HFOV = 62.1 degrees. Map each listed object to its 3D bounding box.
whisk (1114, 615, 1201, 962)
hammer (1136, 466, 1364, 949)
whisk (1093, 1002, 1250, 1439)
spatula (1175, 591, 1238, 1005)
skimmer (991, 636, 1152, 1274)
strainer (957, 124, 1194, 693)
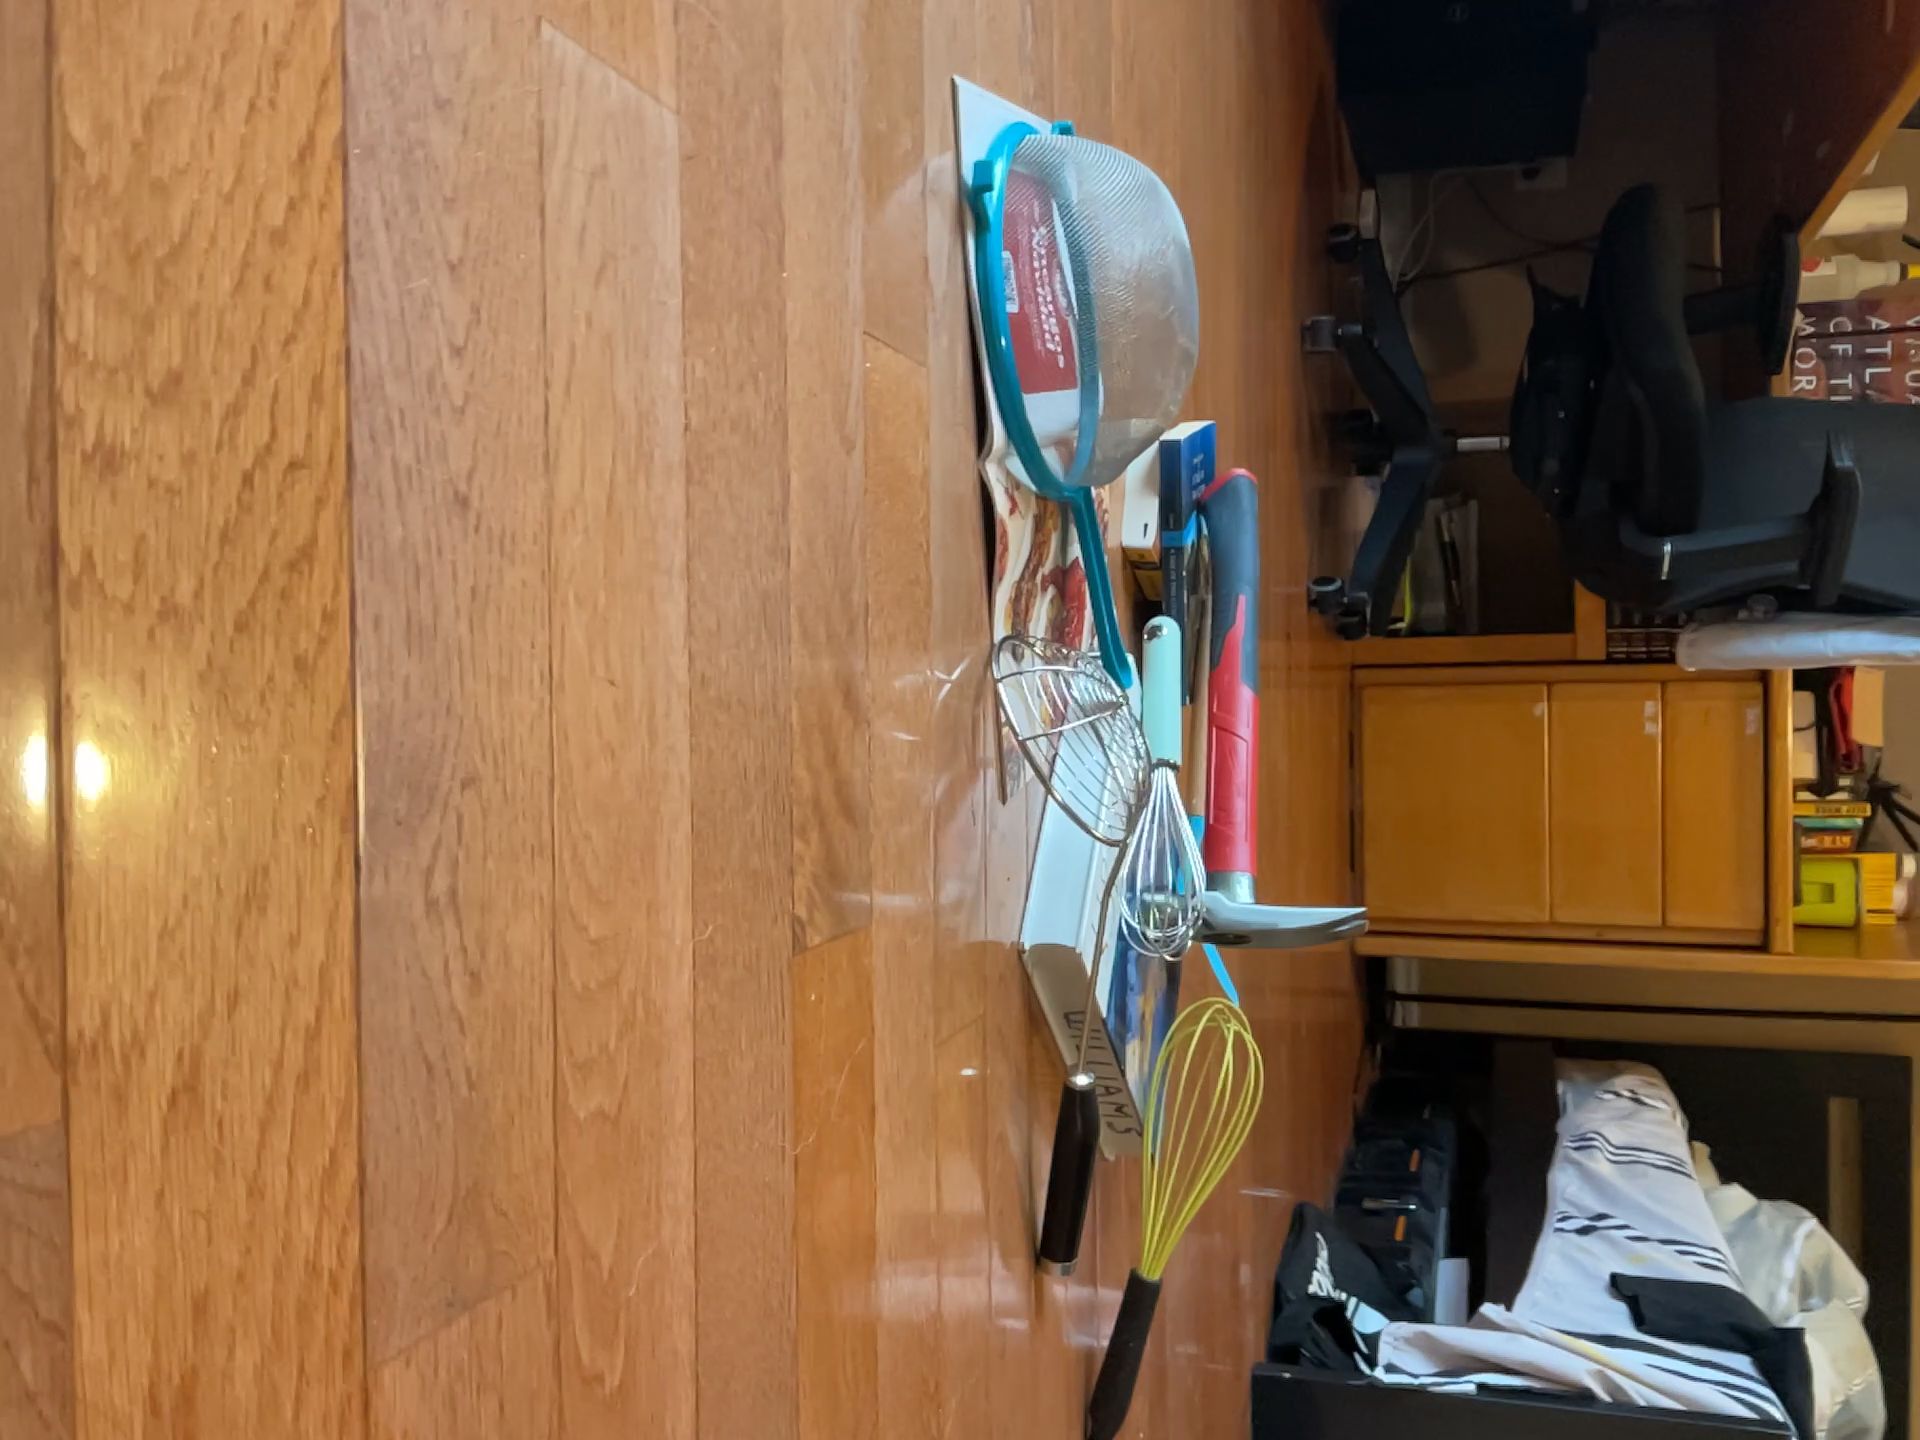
[{"bbox_3d":[0.126,0.037,1.008,0.059,0.057,0.247,29,52,-34],"label":"whisk"},{"bbox_3d":[0.205,-0.022,1.113,0.038,0.143,0.387,69,24,-54],"label":"hammer"},{"bbox_3d":[0.128,0.333,1.034,0.080,0.067,0.312,28,76,-87],"label":"whisk"},{"bbox_3d":[0.186,0.048,1.178,0.082,0.044,0.318,51,42,-60],"label":"spatula"},{"bbox_3d":[0.045,0.137,0.888,0.127,0.090,0.363,-40,138,-70],"label":"skimmer"},{"bbox_3d":[0.096,-0.176,0.918,0.211,0.095,0.340,-57,136,-60],"label":"strainer"}]
